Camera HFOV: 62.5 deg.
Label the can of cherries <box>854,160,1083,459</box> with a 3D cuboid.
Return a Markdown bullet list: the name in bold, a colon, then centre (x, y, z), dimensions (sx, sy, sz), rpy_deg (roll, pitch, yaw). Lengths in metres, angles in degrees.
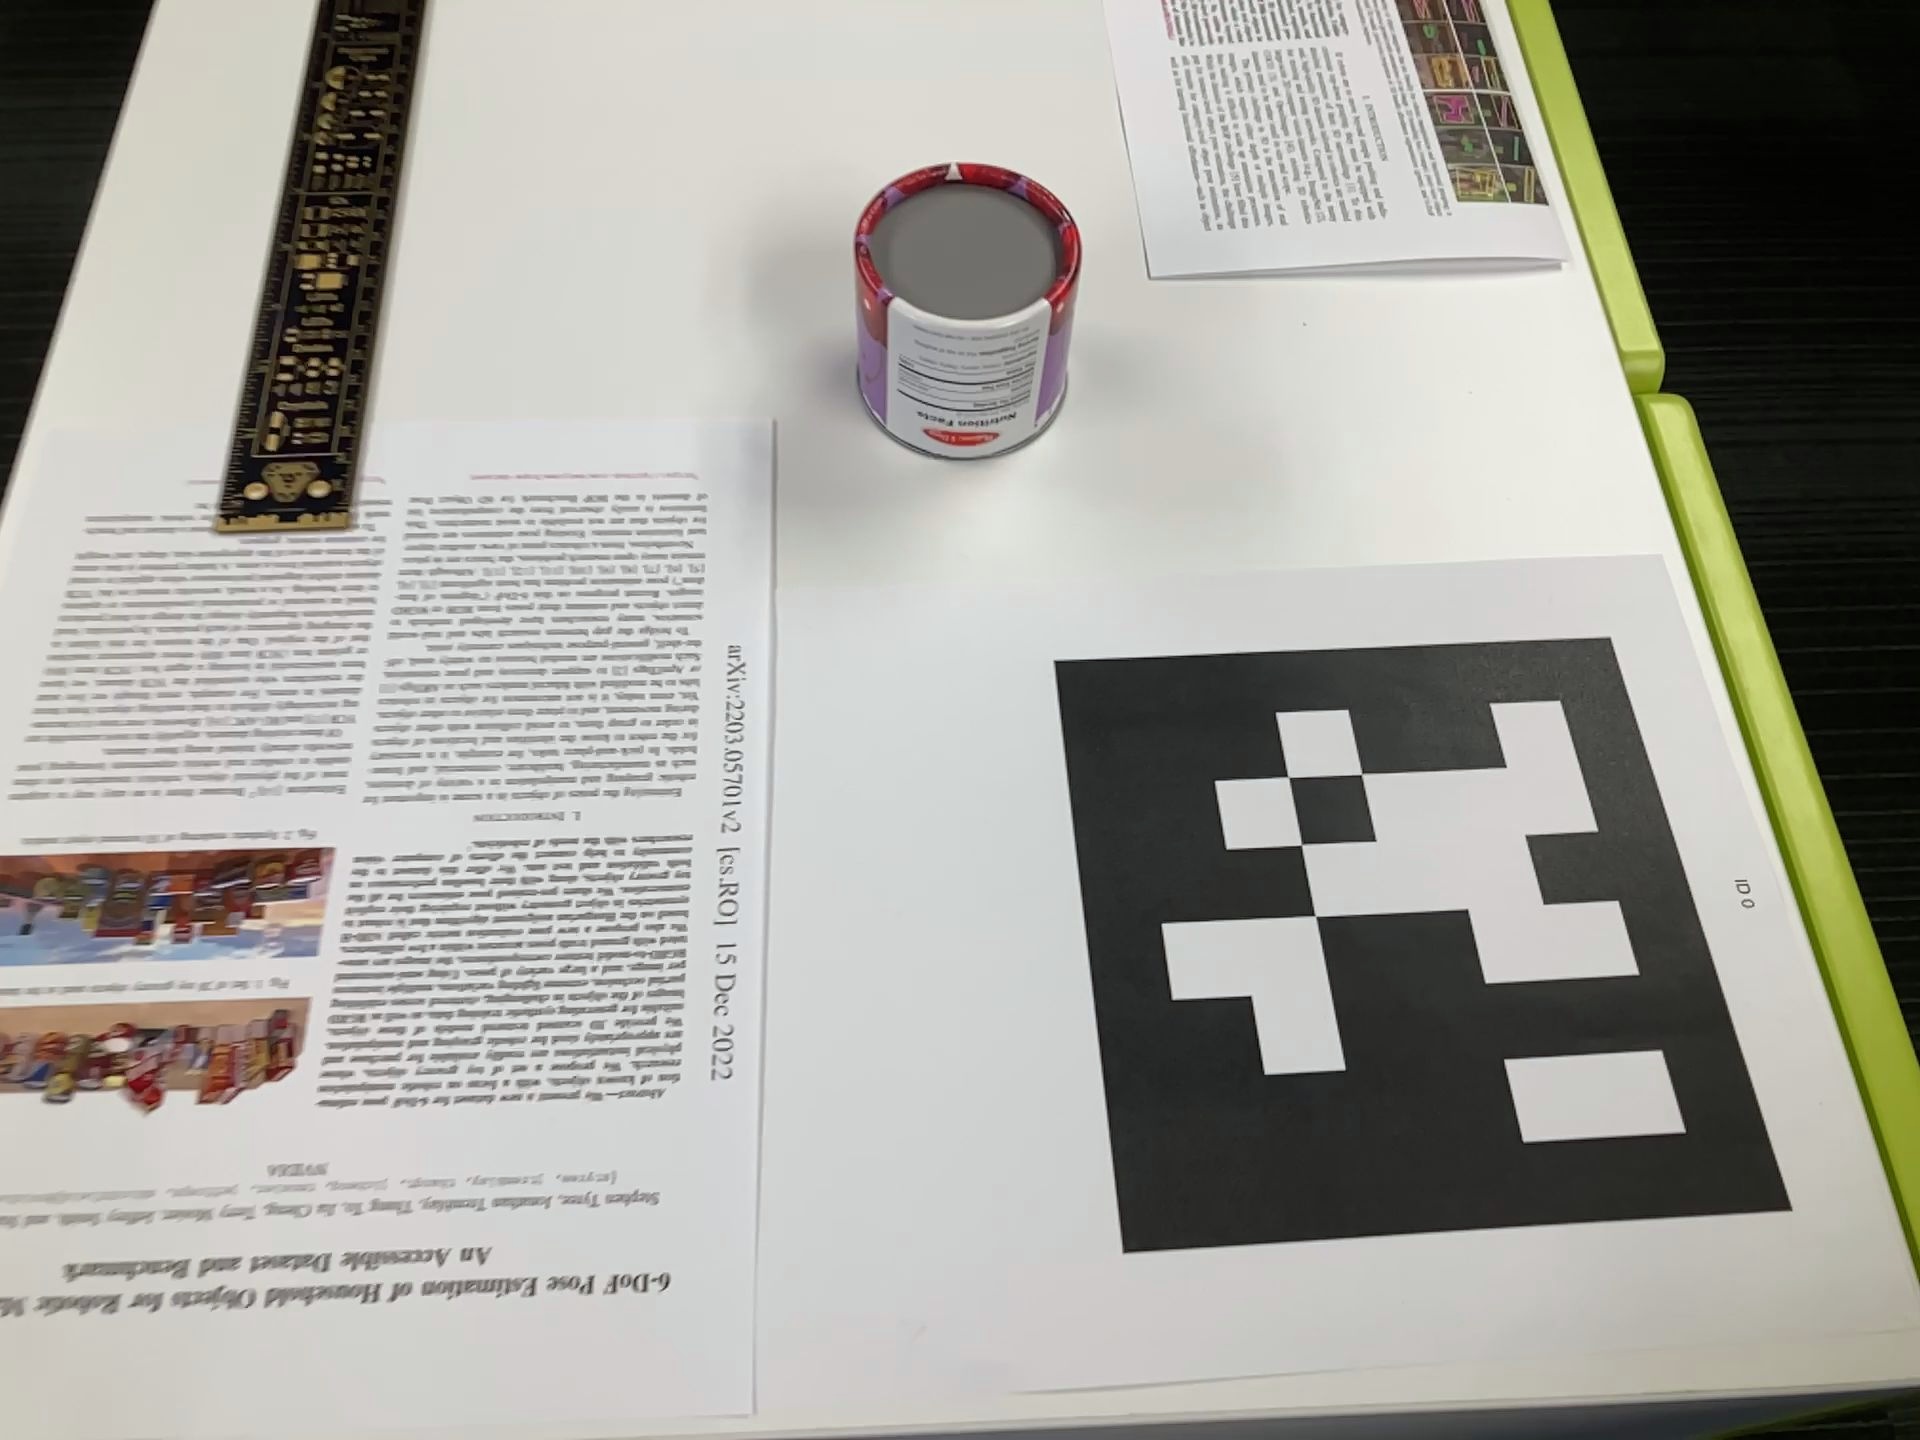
- **can of cherries**: centre (0.001, -0.124, 0.473), dimensions (0.071, 0.058, 0.071), rpy_deg (1, 61, -1)
